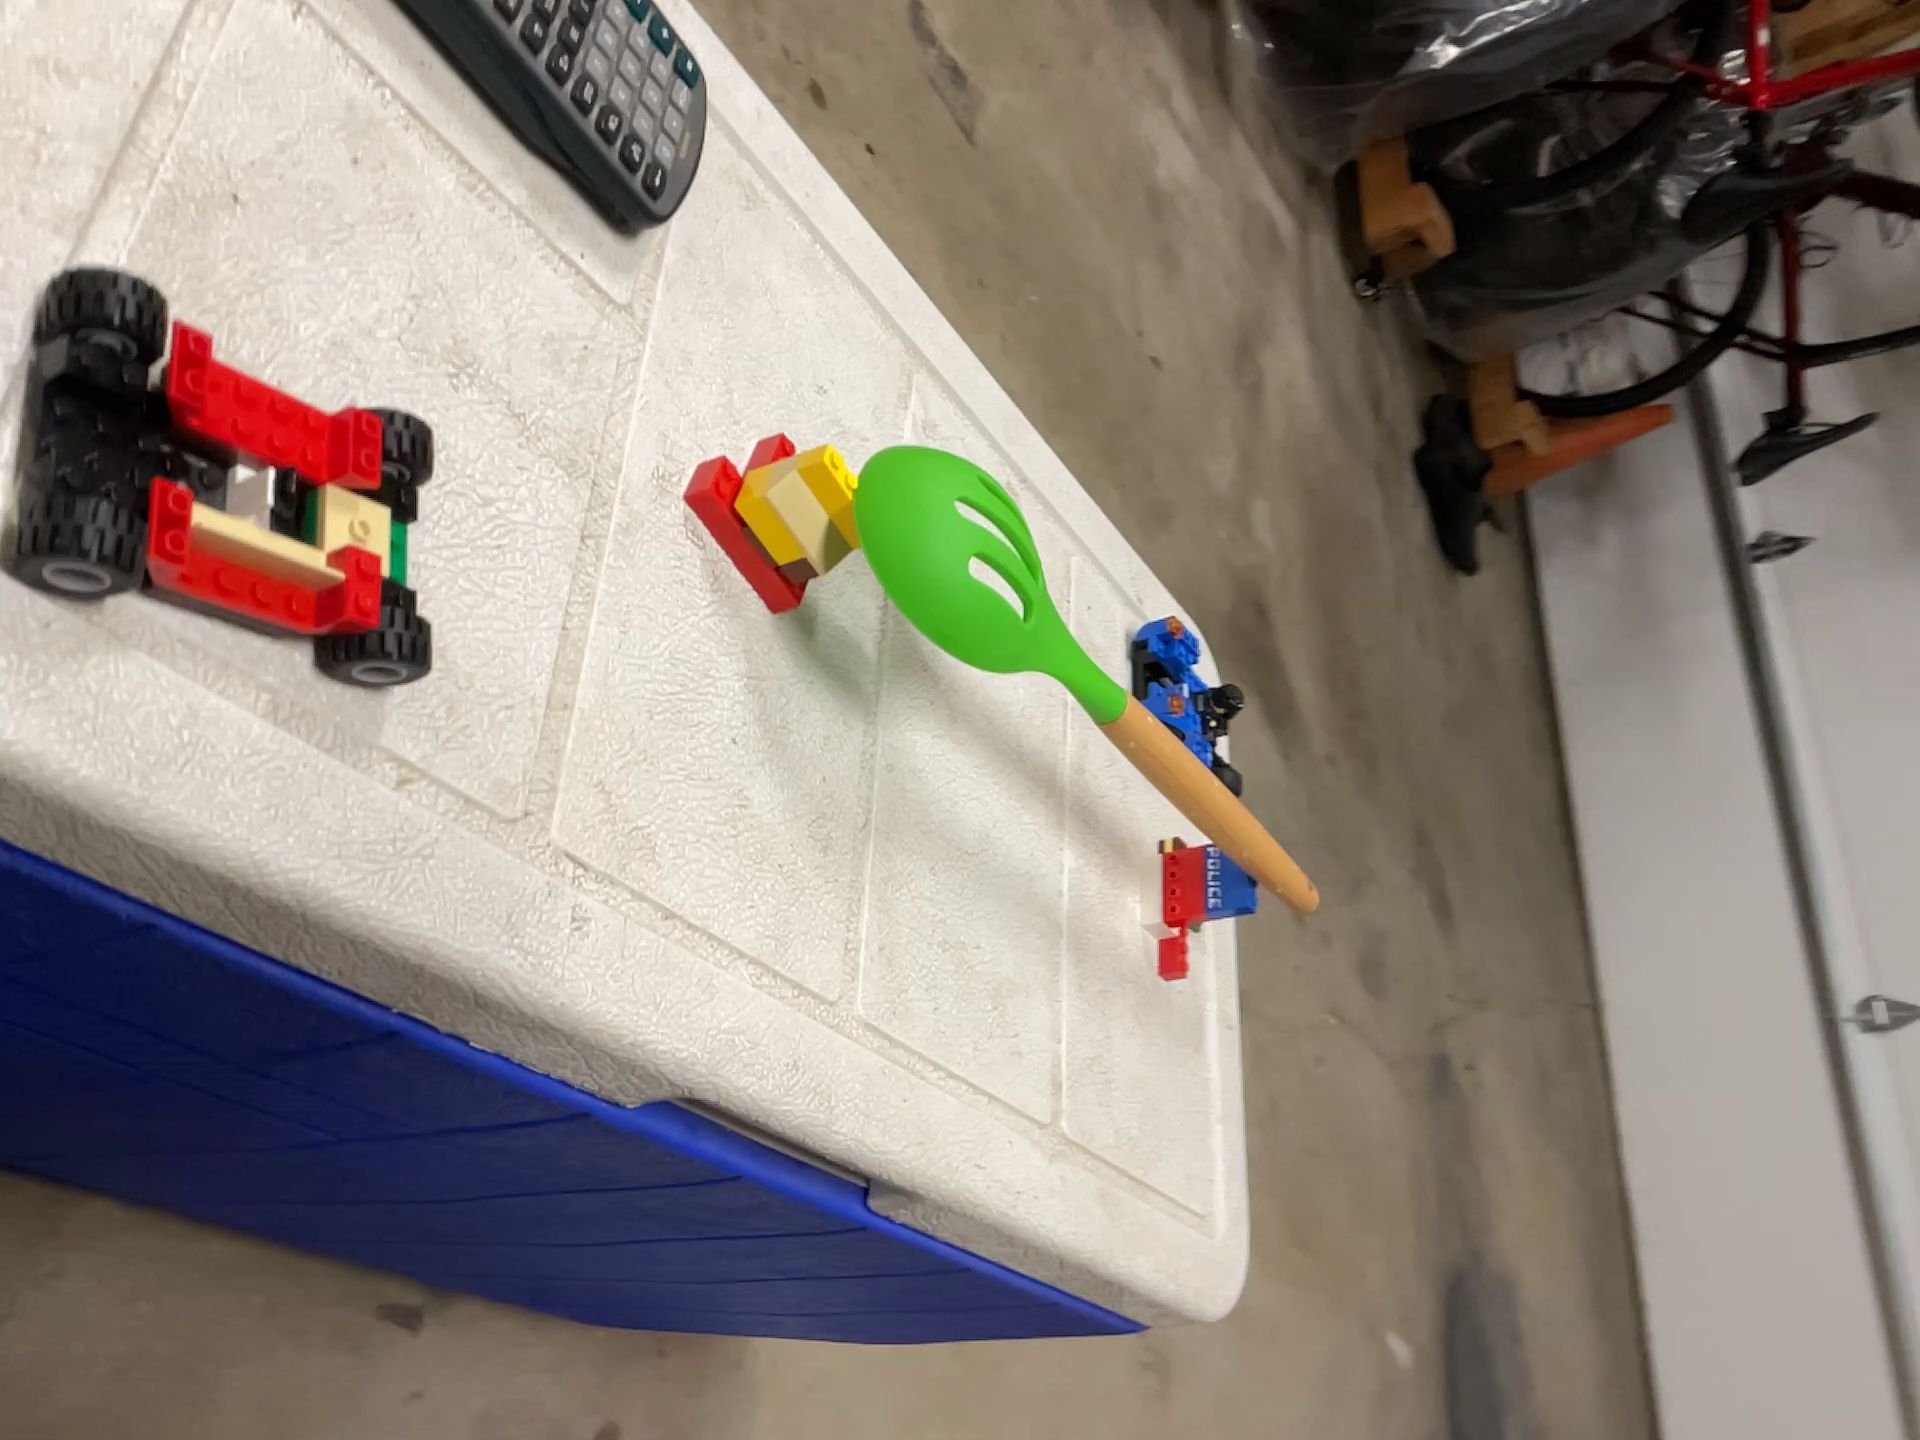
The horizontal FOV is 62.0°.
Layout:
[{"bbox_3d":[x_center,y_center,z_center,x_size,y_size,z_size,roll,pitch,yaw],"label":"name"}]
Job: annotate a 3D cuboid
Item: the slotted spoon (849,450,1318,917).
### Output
[{"bbox_3d":[0.063,0.005,0.560,0.313,0.031,0.070,41,42,-46],"label":"slotted spoon"}]
